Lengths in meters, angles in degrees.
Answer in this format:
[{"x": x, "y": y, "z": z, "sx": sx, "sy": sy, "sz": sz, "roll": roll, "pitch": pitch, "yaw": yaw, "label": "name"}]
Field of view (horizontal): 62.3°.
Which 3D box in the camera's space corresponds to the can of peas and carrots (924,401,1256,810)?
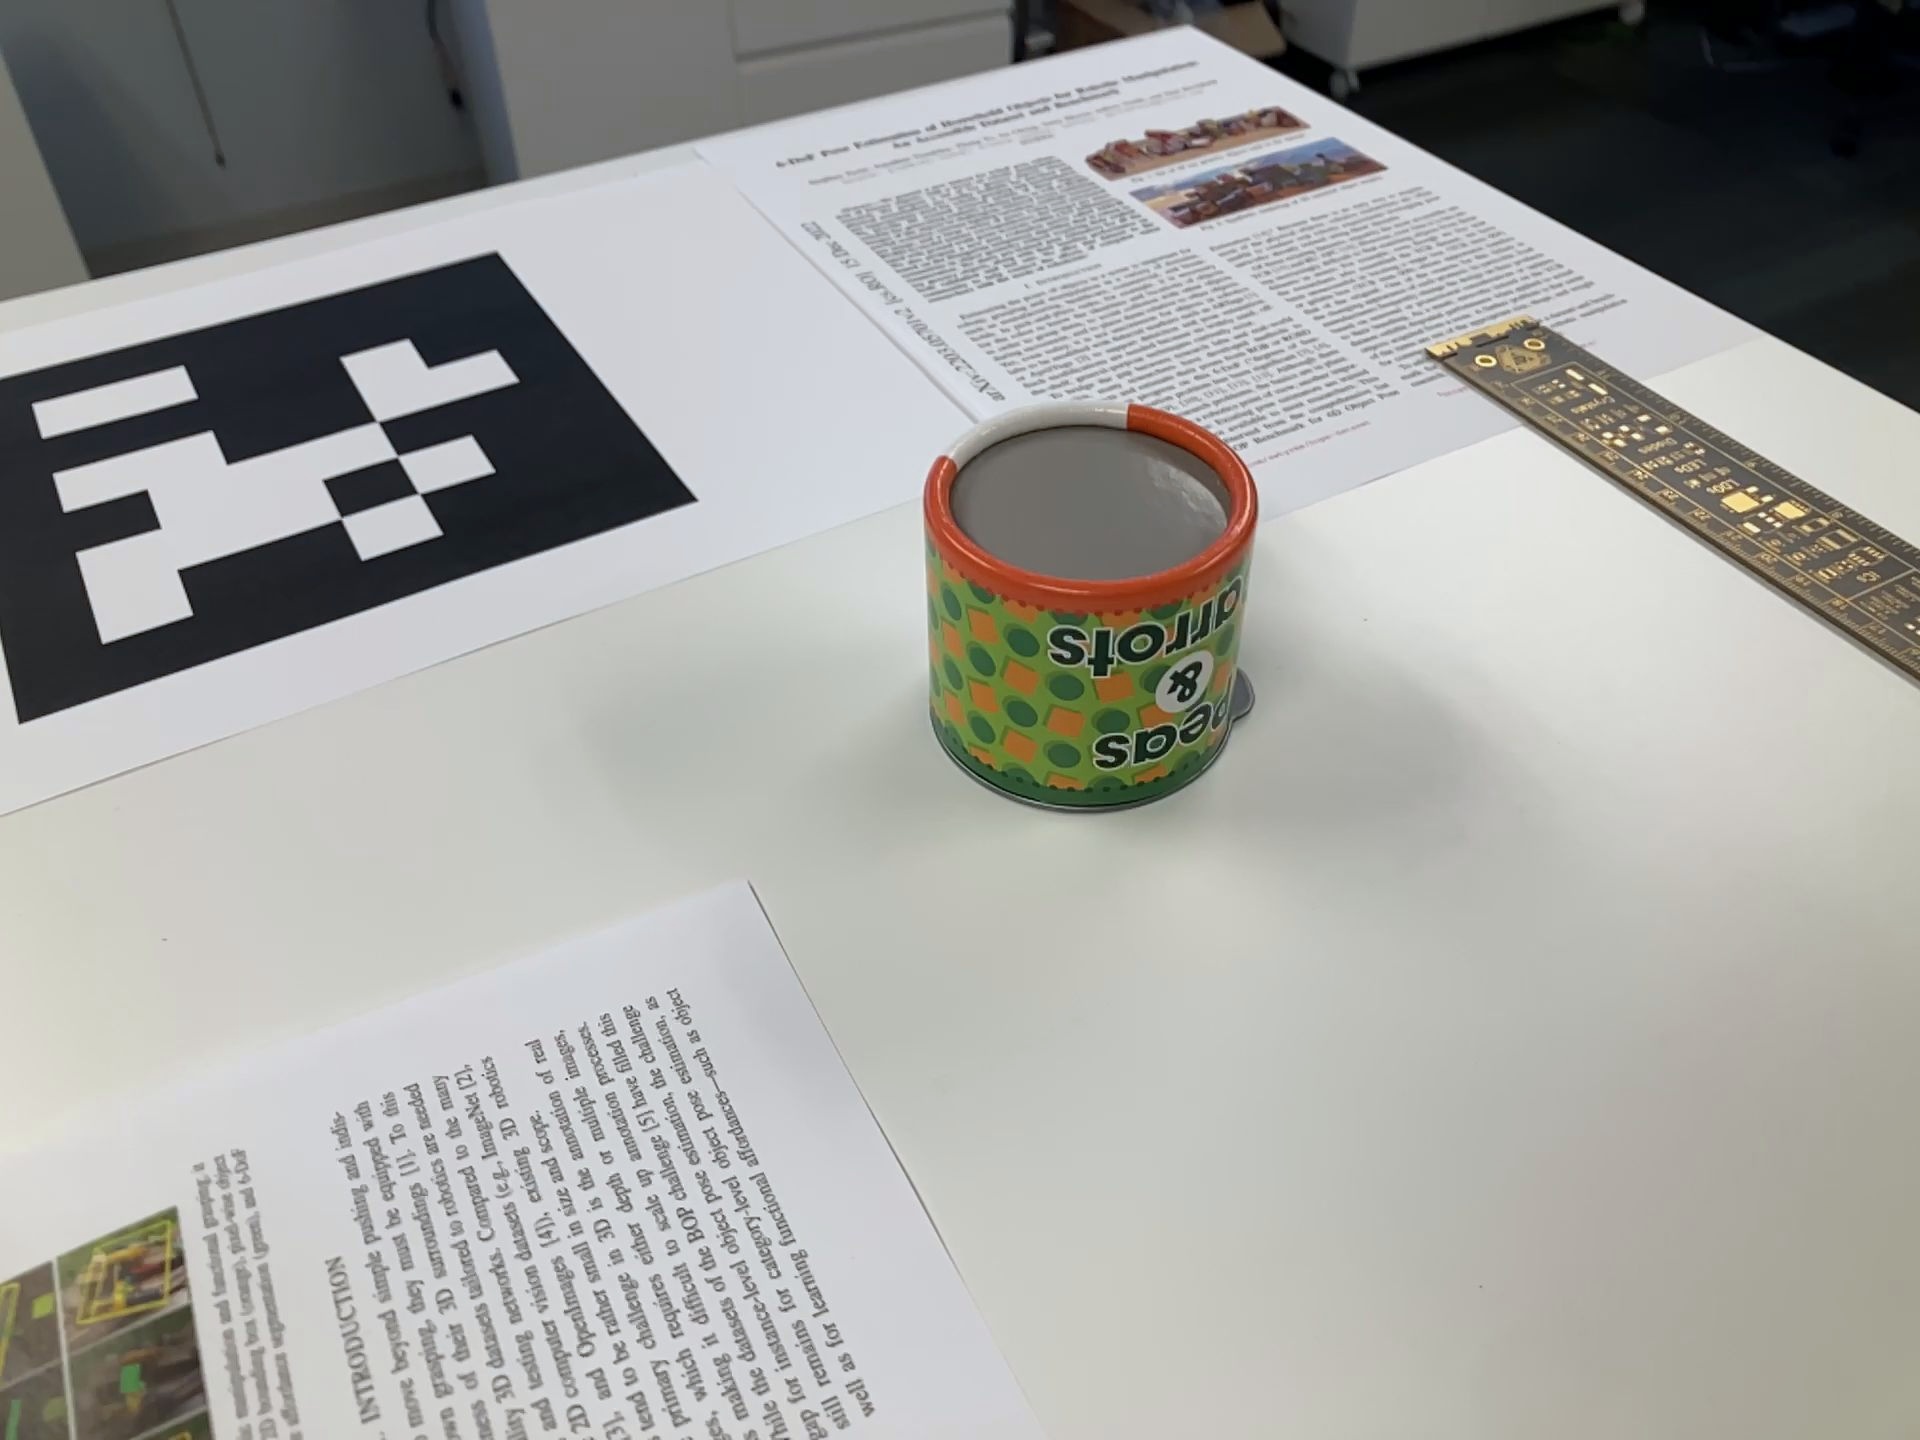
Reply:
[{"x": 0.027, "y": -0.023, "z": 0.330, "sx": 0.071, "sy": 0.059, "sz": 0.071, "roll": -1, "pitch": 44, "yaw": 1, "label": "can of peas and carrots"}]
